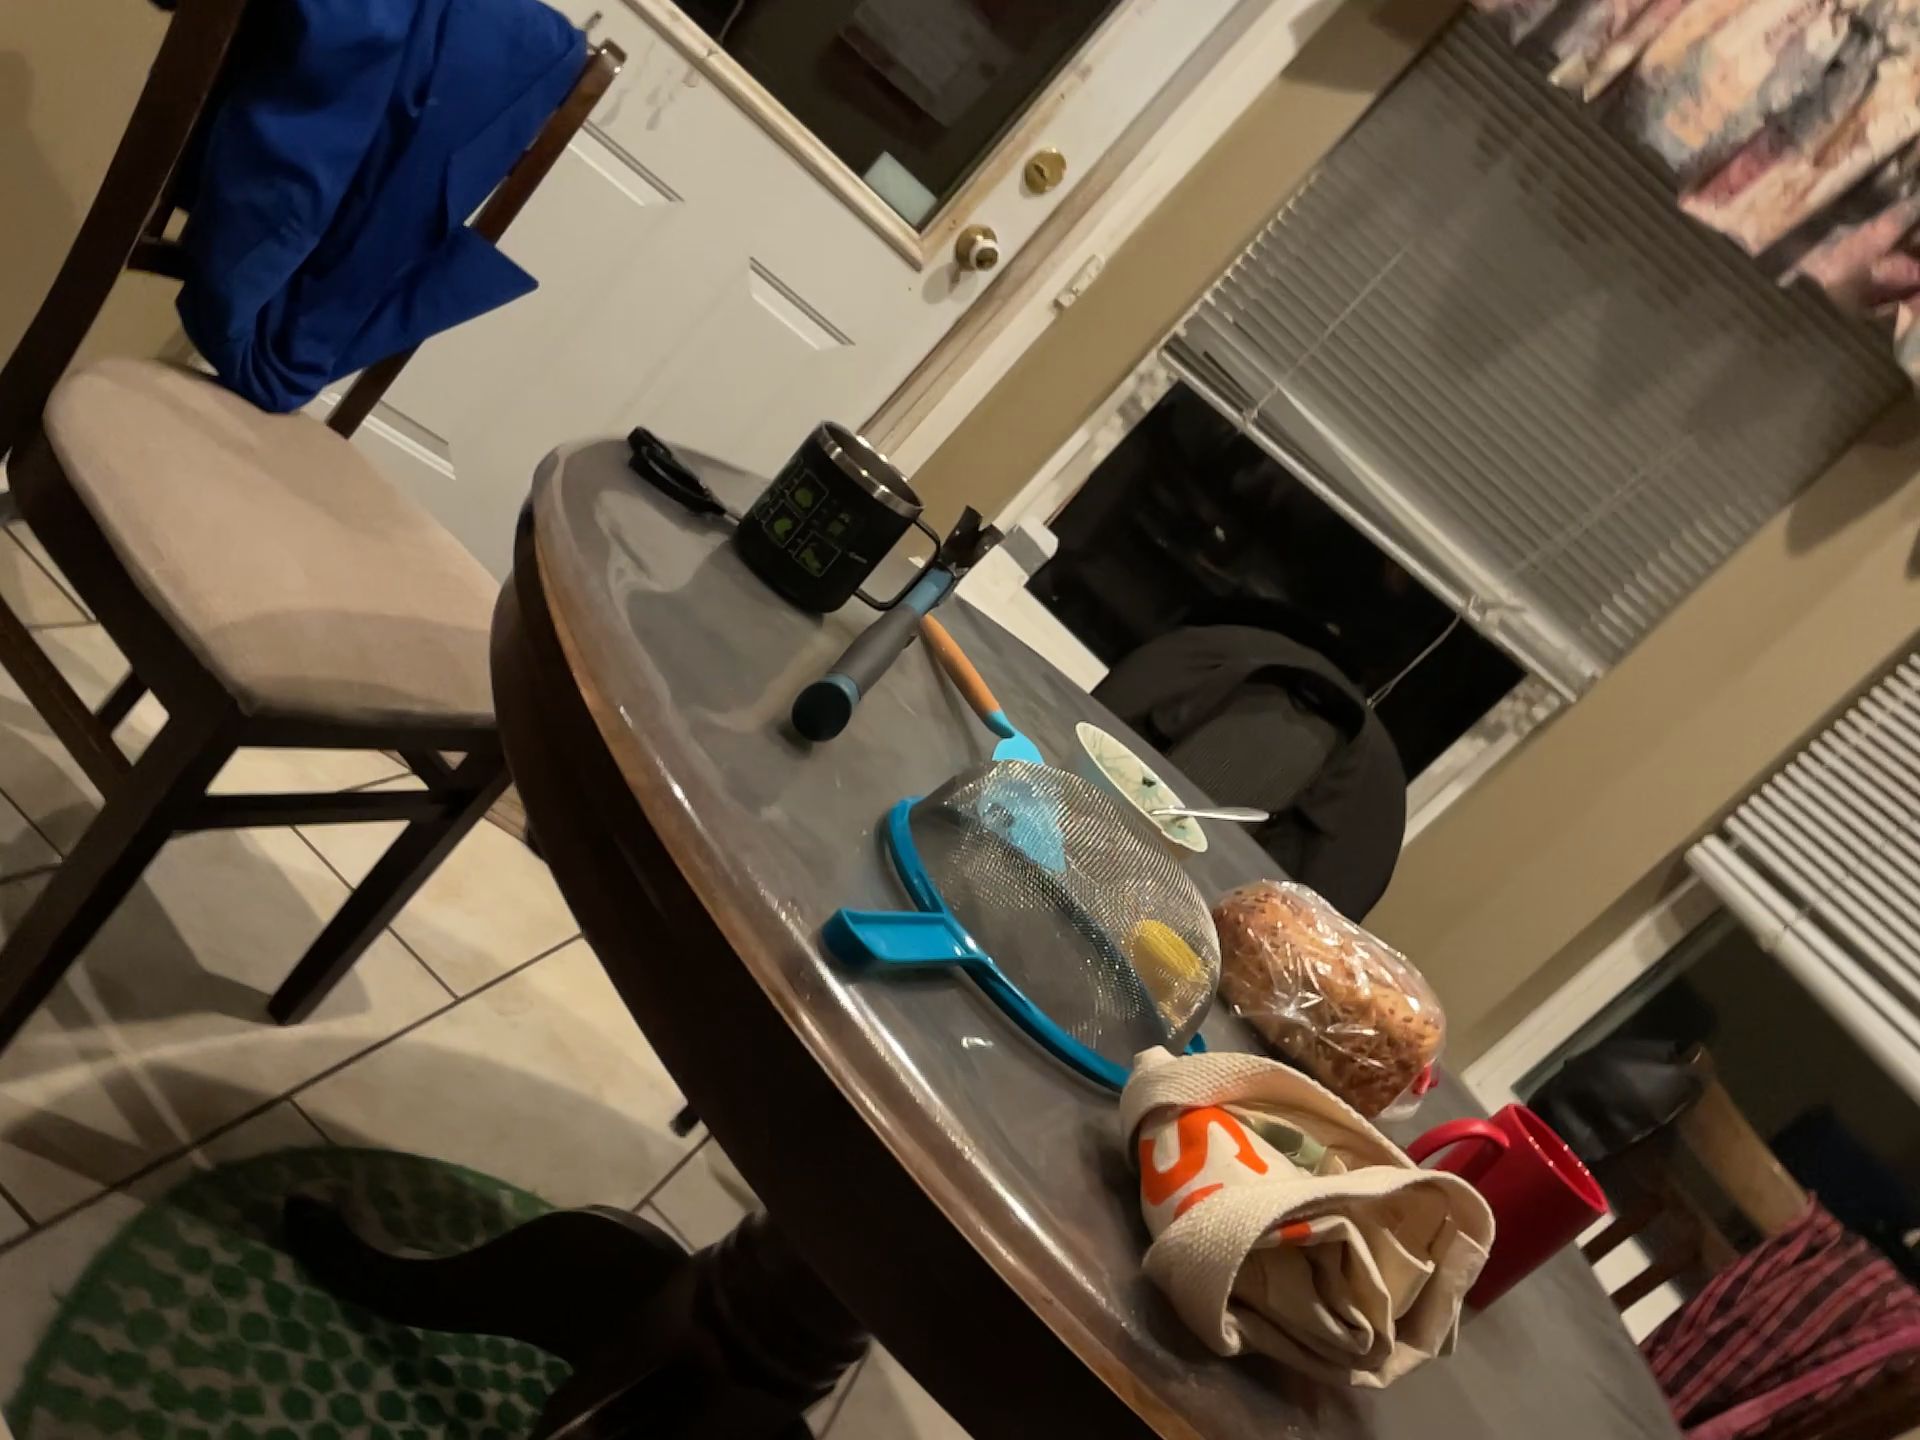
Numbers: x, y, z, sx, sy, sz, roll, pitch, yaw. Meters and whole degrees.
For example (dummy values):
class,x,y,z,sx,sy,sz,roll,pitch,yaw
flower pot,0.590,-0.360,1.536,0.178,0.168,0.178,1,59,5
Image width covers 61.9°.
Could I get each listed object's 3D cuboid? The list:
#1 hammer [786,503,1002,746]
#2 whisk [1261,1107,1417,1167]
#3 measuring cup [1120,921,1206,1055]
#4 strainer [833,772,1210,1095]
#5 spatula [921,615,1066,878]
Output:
class,x,y,z,sx,sy,sz,roll,pitch,yaw
hammer,-0.044,-0.055,1.002,0.033,0.128,0.331,40,23,-4
whisk,0.198,0.228,0.851,0.246,0.058,0.059,37,43,-60
measuring cup,0.143,0.176,0.946,0.062,0.029,0.157,32,16,-38
strainer,0.042,0.086,0.801,0.211,0.095,0.340,48,10,20
spatula,0.010,-0.001,1.127,0.082,0.044,0.318,35,12,-28
